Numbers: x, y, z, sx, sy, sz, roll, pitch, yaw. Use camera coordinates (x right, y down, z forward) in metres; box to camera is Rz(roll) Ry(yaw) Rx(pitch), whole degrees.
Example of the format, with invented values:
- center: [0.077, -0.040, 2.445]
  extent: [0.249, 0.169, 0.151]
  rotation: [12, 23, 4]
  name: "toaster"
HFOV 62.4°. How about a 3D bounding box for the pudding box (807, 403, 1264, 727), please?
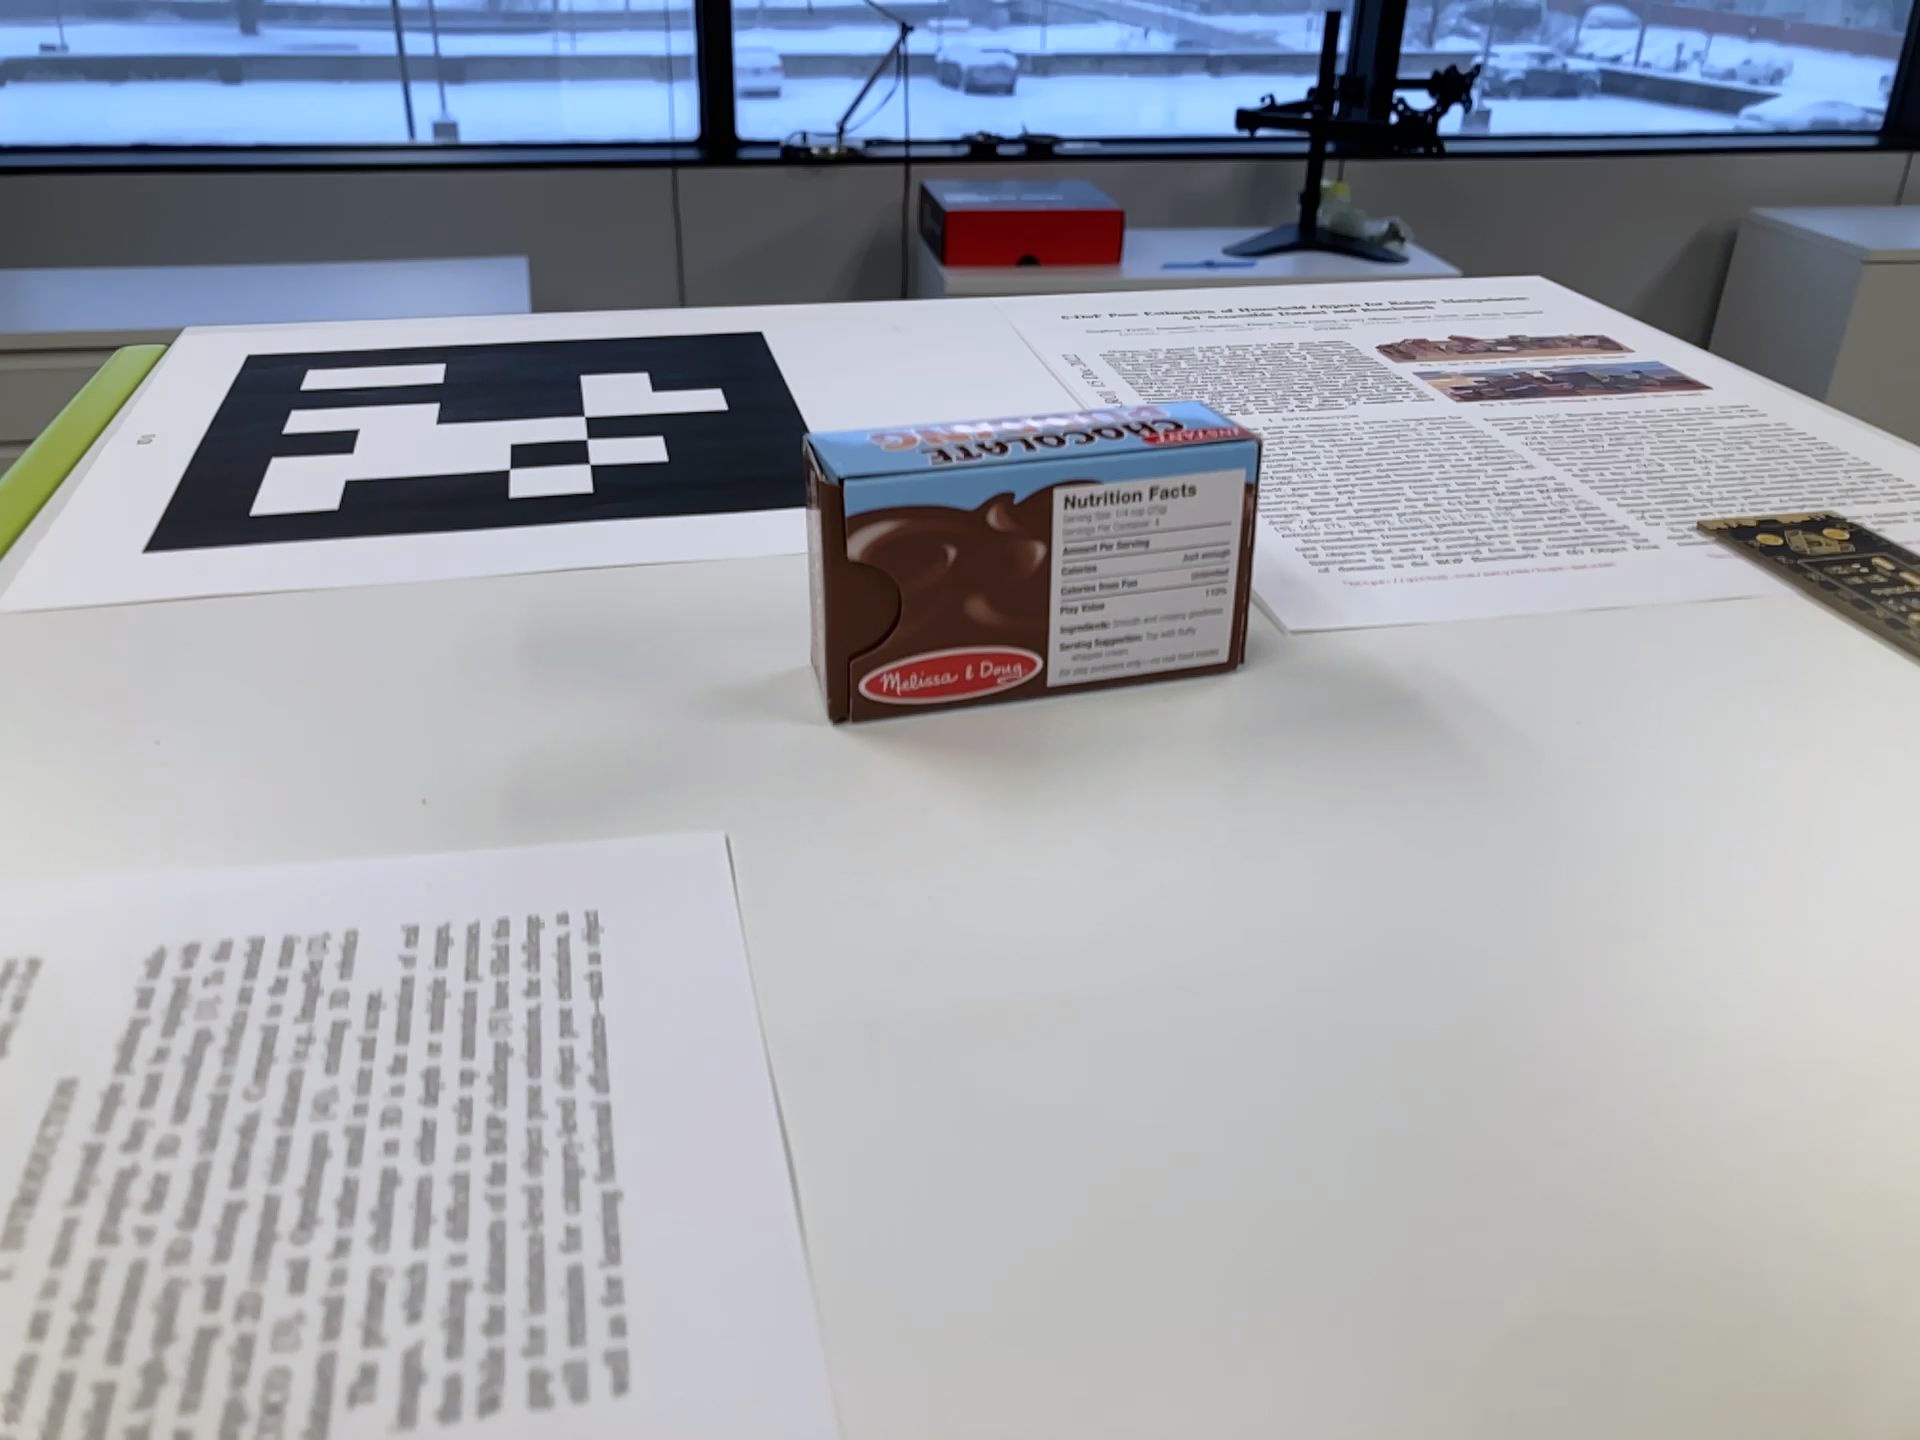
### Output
- center: [0.014, -0.032, 0.304]
  extent: [0.083, 0.049, 0.030]
  rotation: [-8, 28, -15]
  name: "pudding box"
